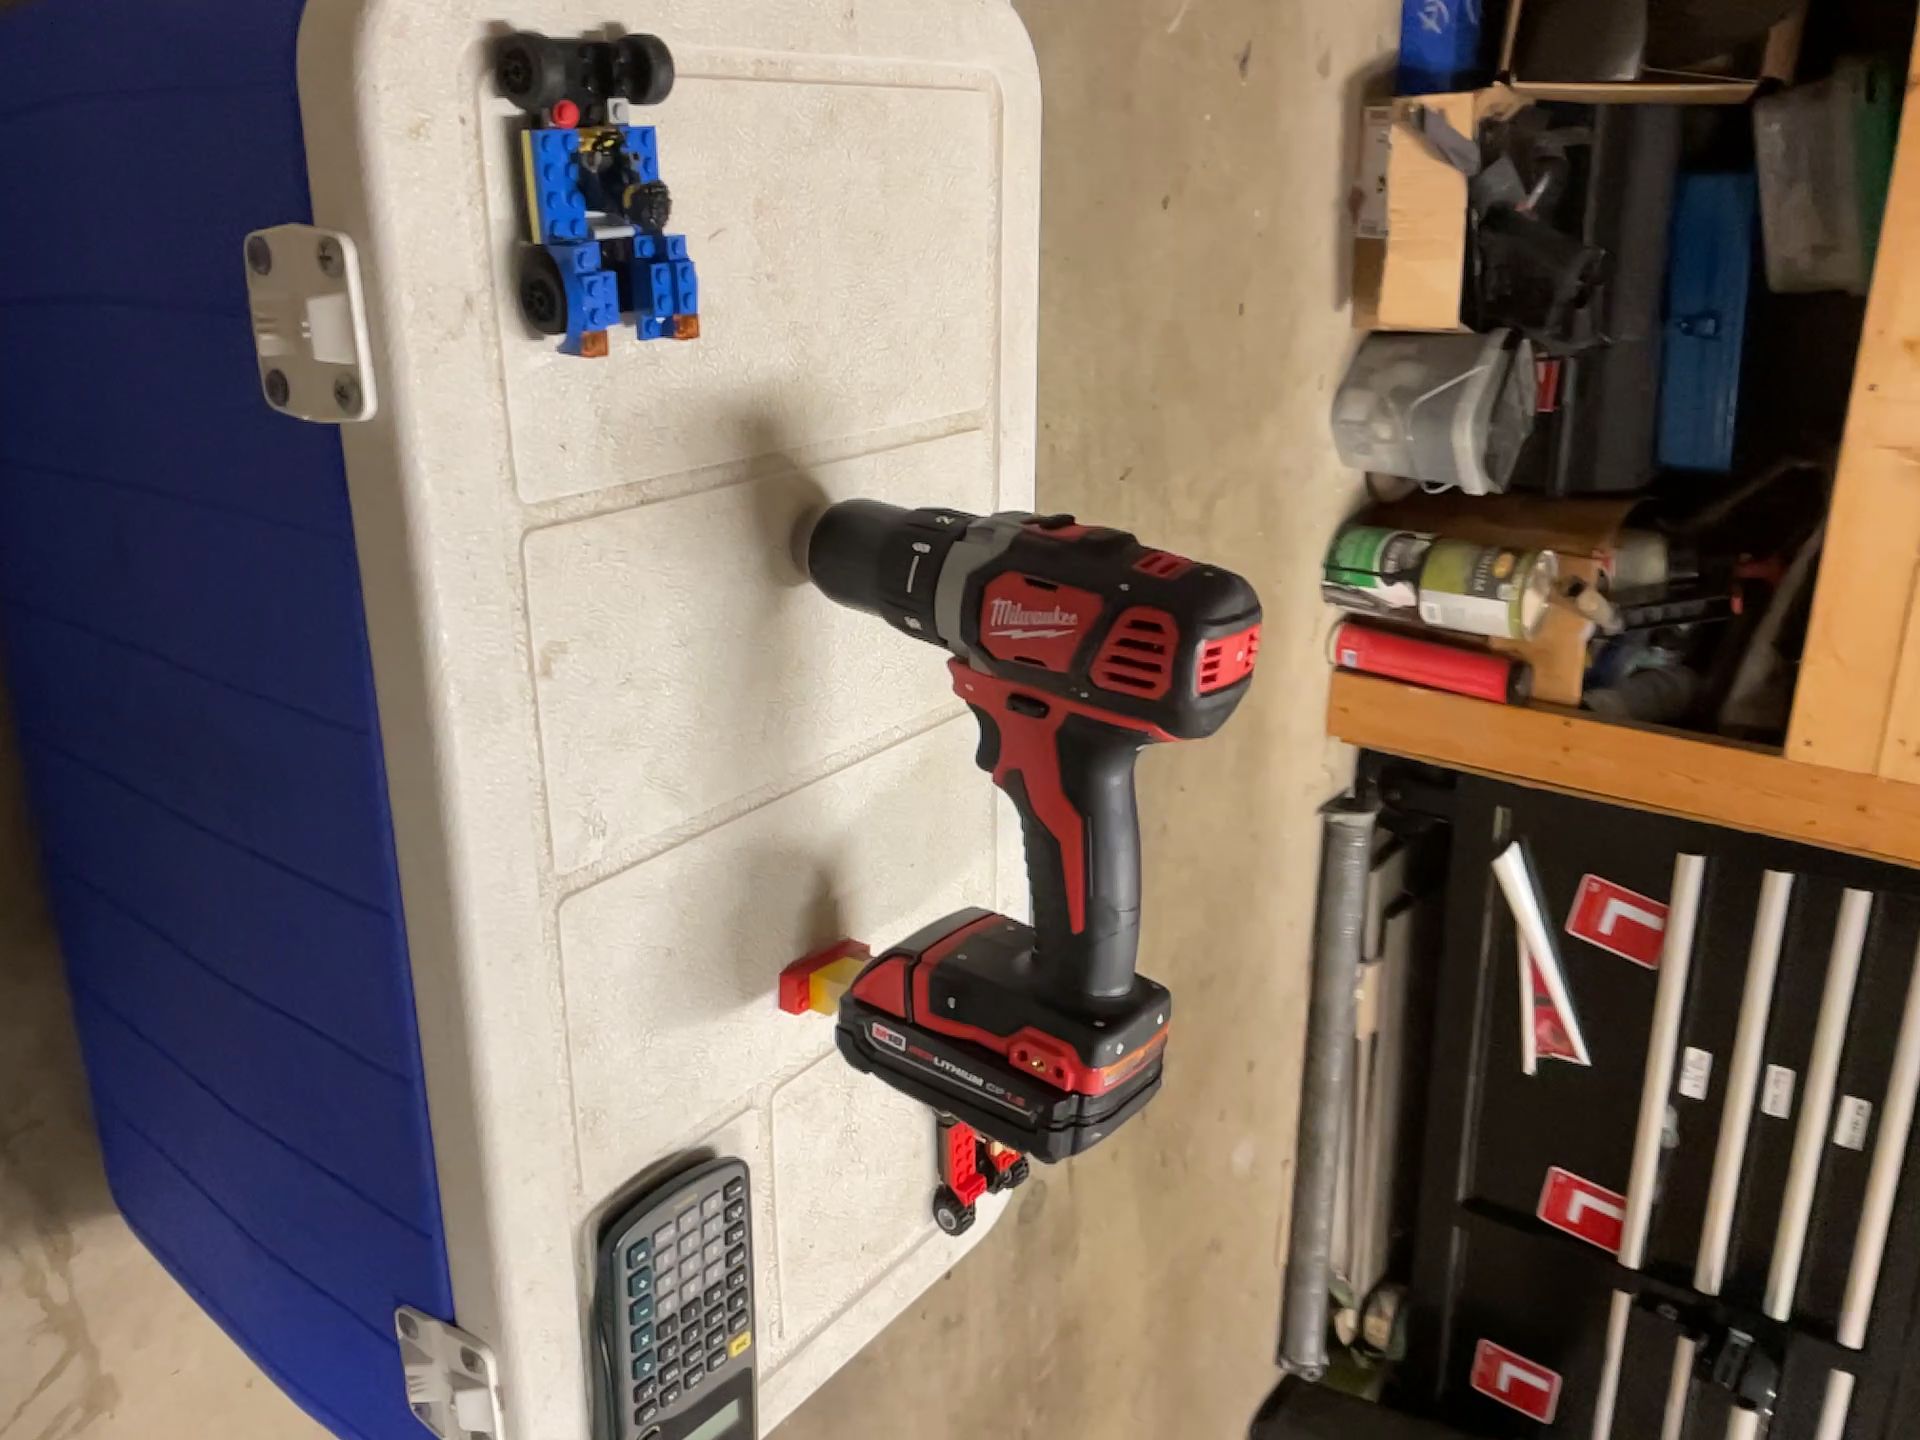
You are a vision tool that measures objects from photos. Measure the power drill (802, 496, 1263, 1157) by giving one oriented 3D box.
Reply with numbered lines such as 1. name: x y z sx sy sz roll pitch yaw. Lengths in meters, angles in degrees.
1. power drill: 0.010 0.028 0.612 0.080 0.188 0.226 -18 121 -51
